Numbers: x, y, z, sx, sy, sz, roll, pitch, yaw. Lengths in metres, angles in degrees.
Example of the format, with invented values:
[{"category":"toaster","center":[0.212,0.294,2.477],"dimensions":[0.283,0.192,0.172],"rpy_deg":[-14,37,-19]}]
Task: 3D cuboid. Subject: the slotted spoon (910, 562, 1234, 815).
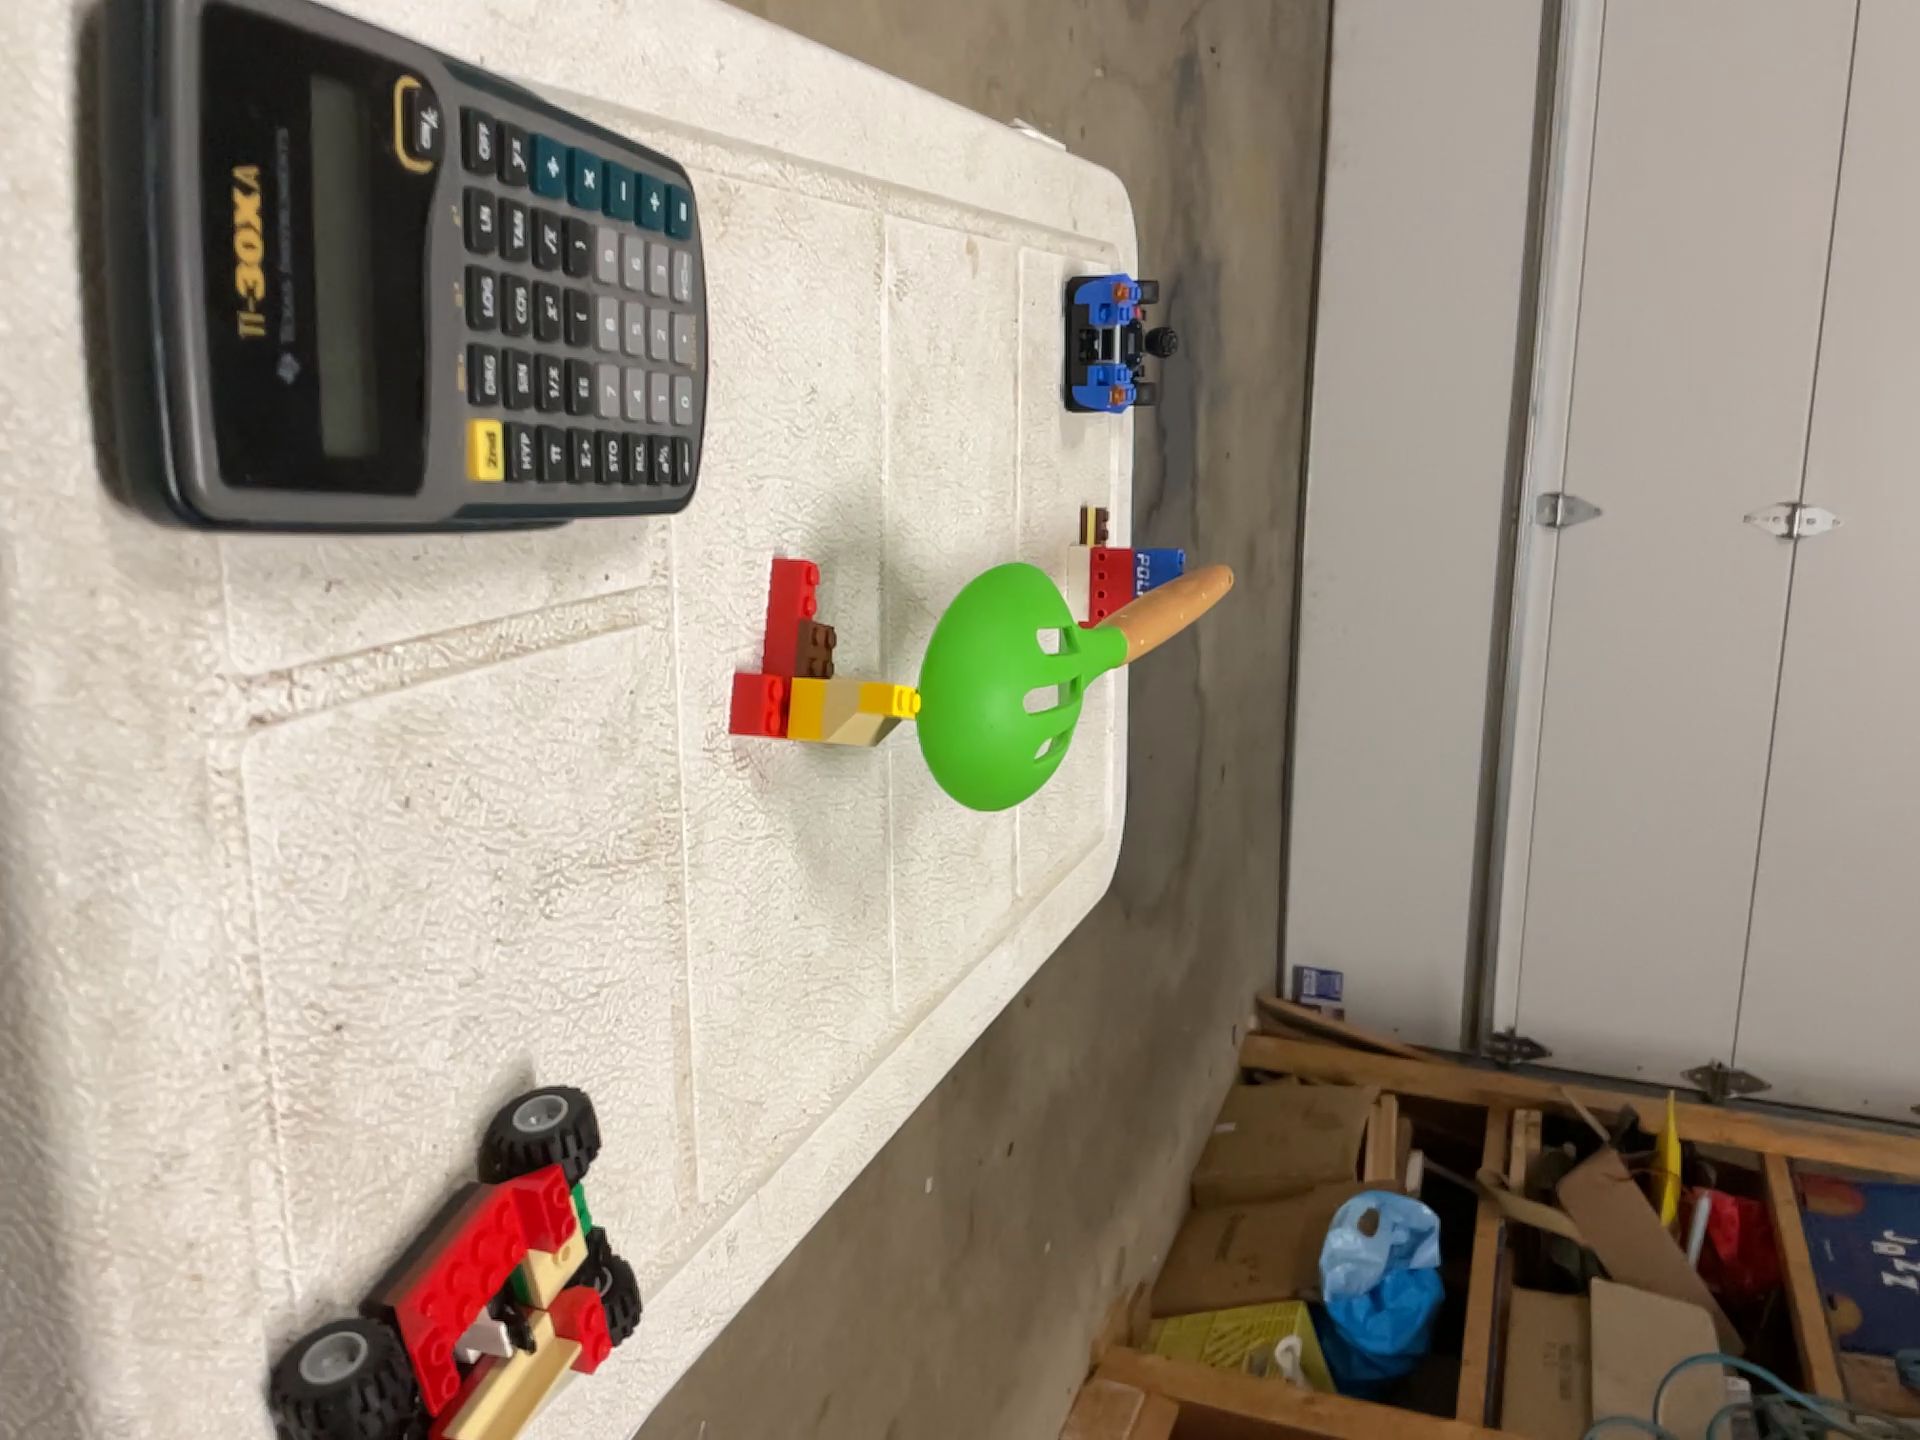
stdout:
[{"category":"slotted spoon","center":[0.057,-0.032,0.551],"dimensions":[0.314,0.031,0.070],"rpy_deg":[-29,120,-66]}]
